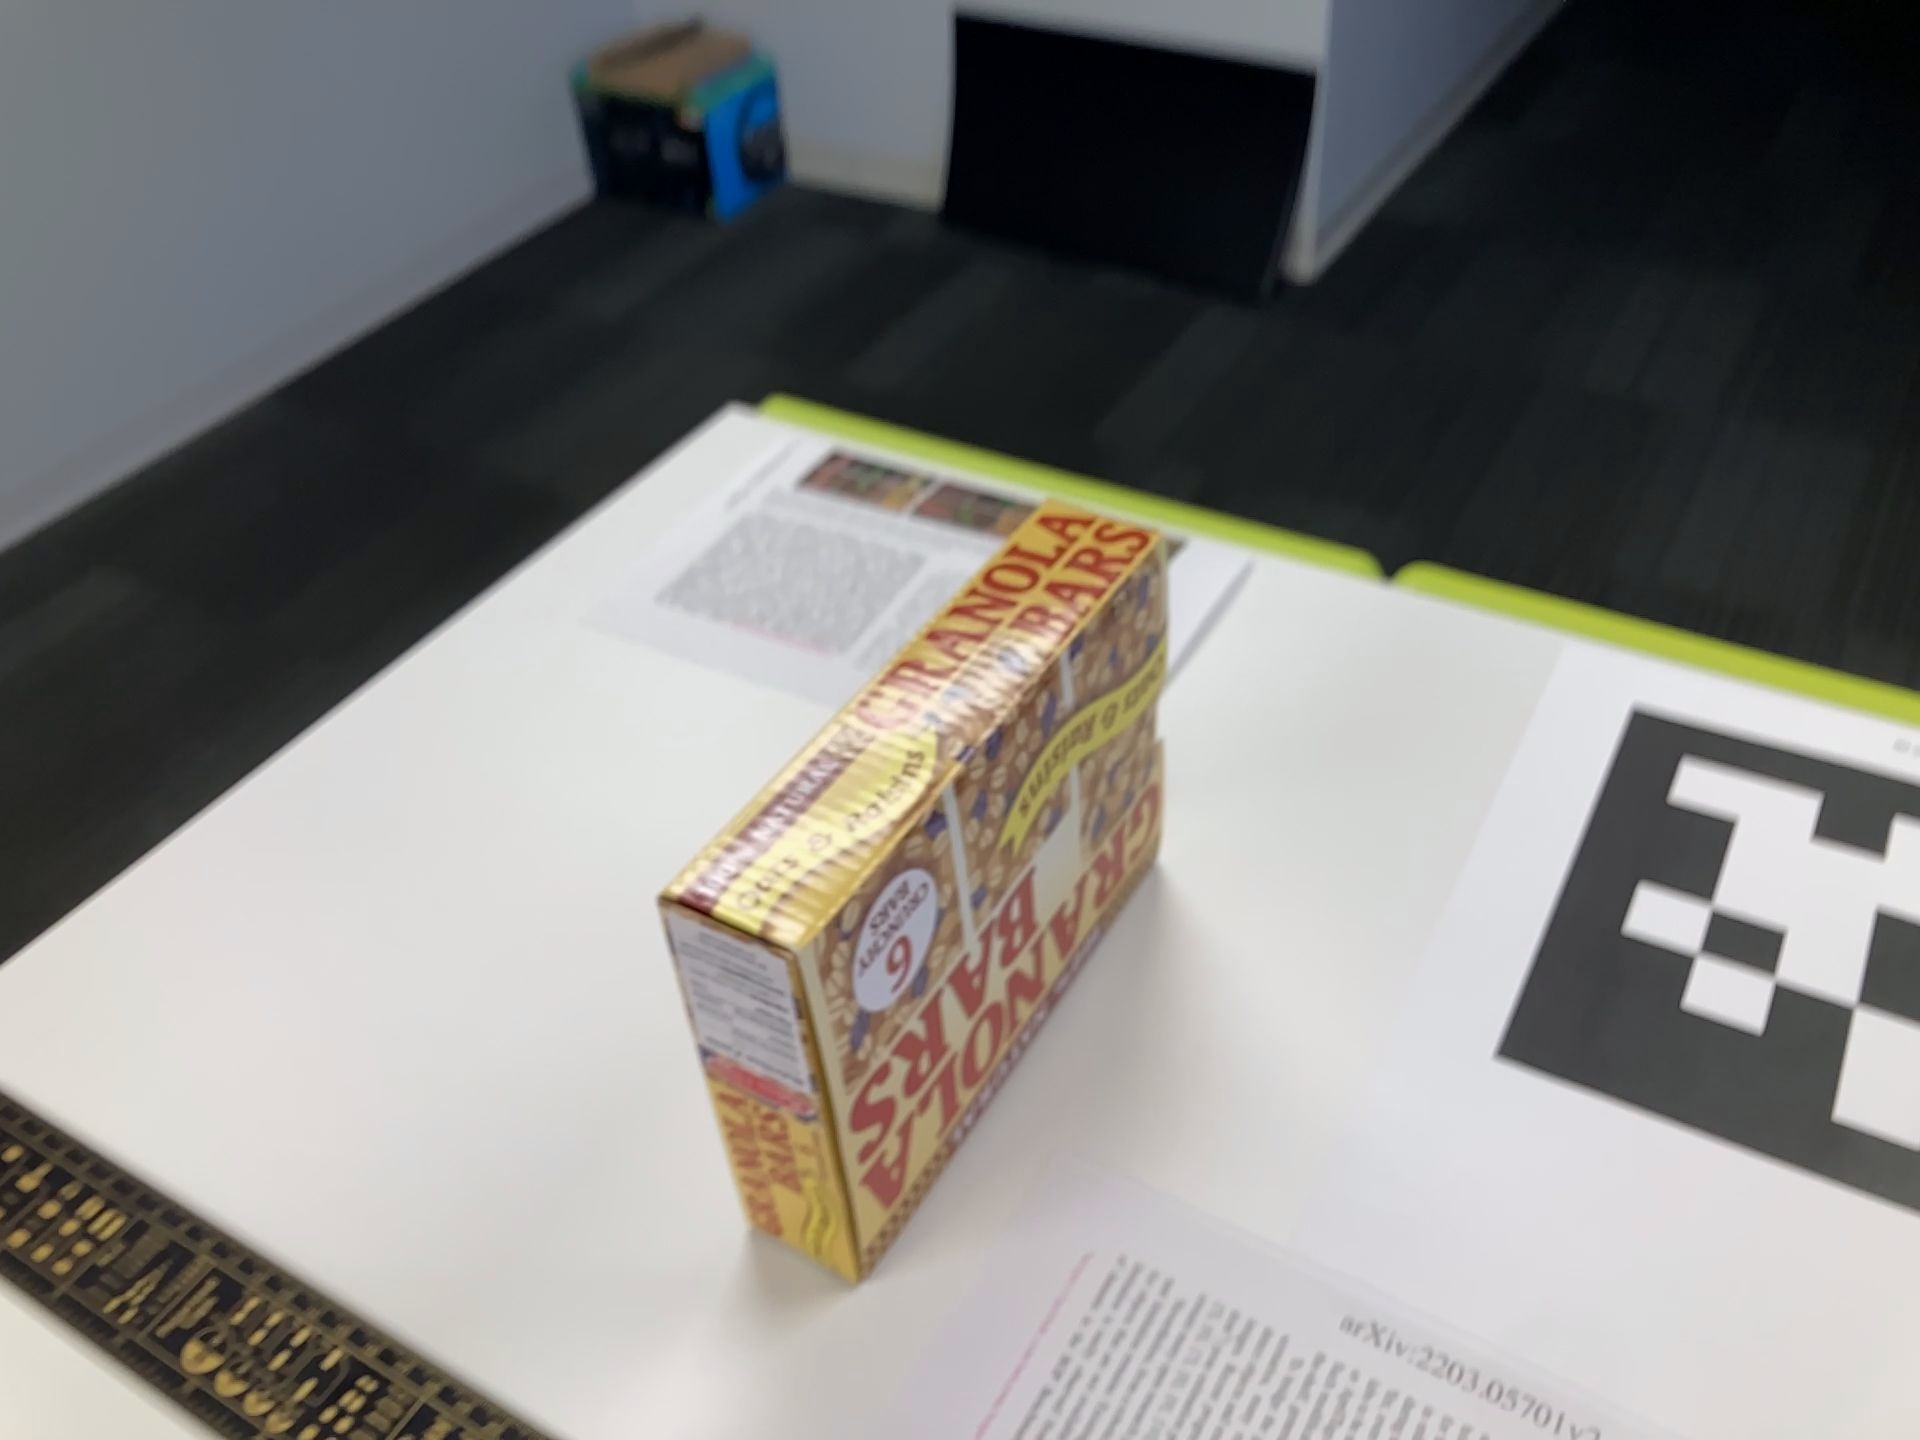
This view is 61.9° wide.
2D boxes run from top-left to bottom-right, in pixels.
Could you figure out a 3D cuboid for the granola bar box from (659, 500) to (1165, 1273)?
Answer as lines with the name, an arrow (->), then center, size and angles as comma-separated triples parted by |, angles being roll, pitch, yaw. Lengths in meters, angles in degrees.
granola bar box -> 0.000, 0.039, 0.414 | 0.039, 0.124, 0.165 | 20, 47, 26
